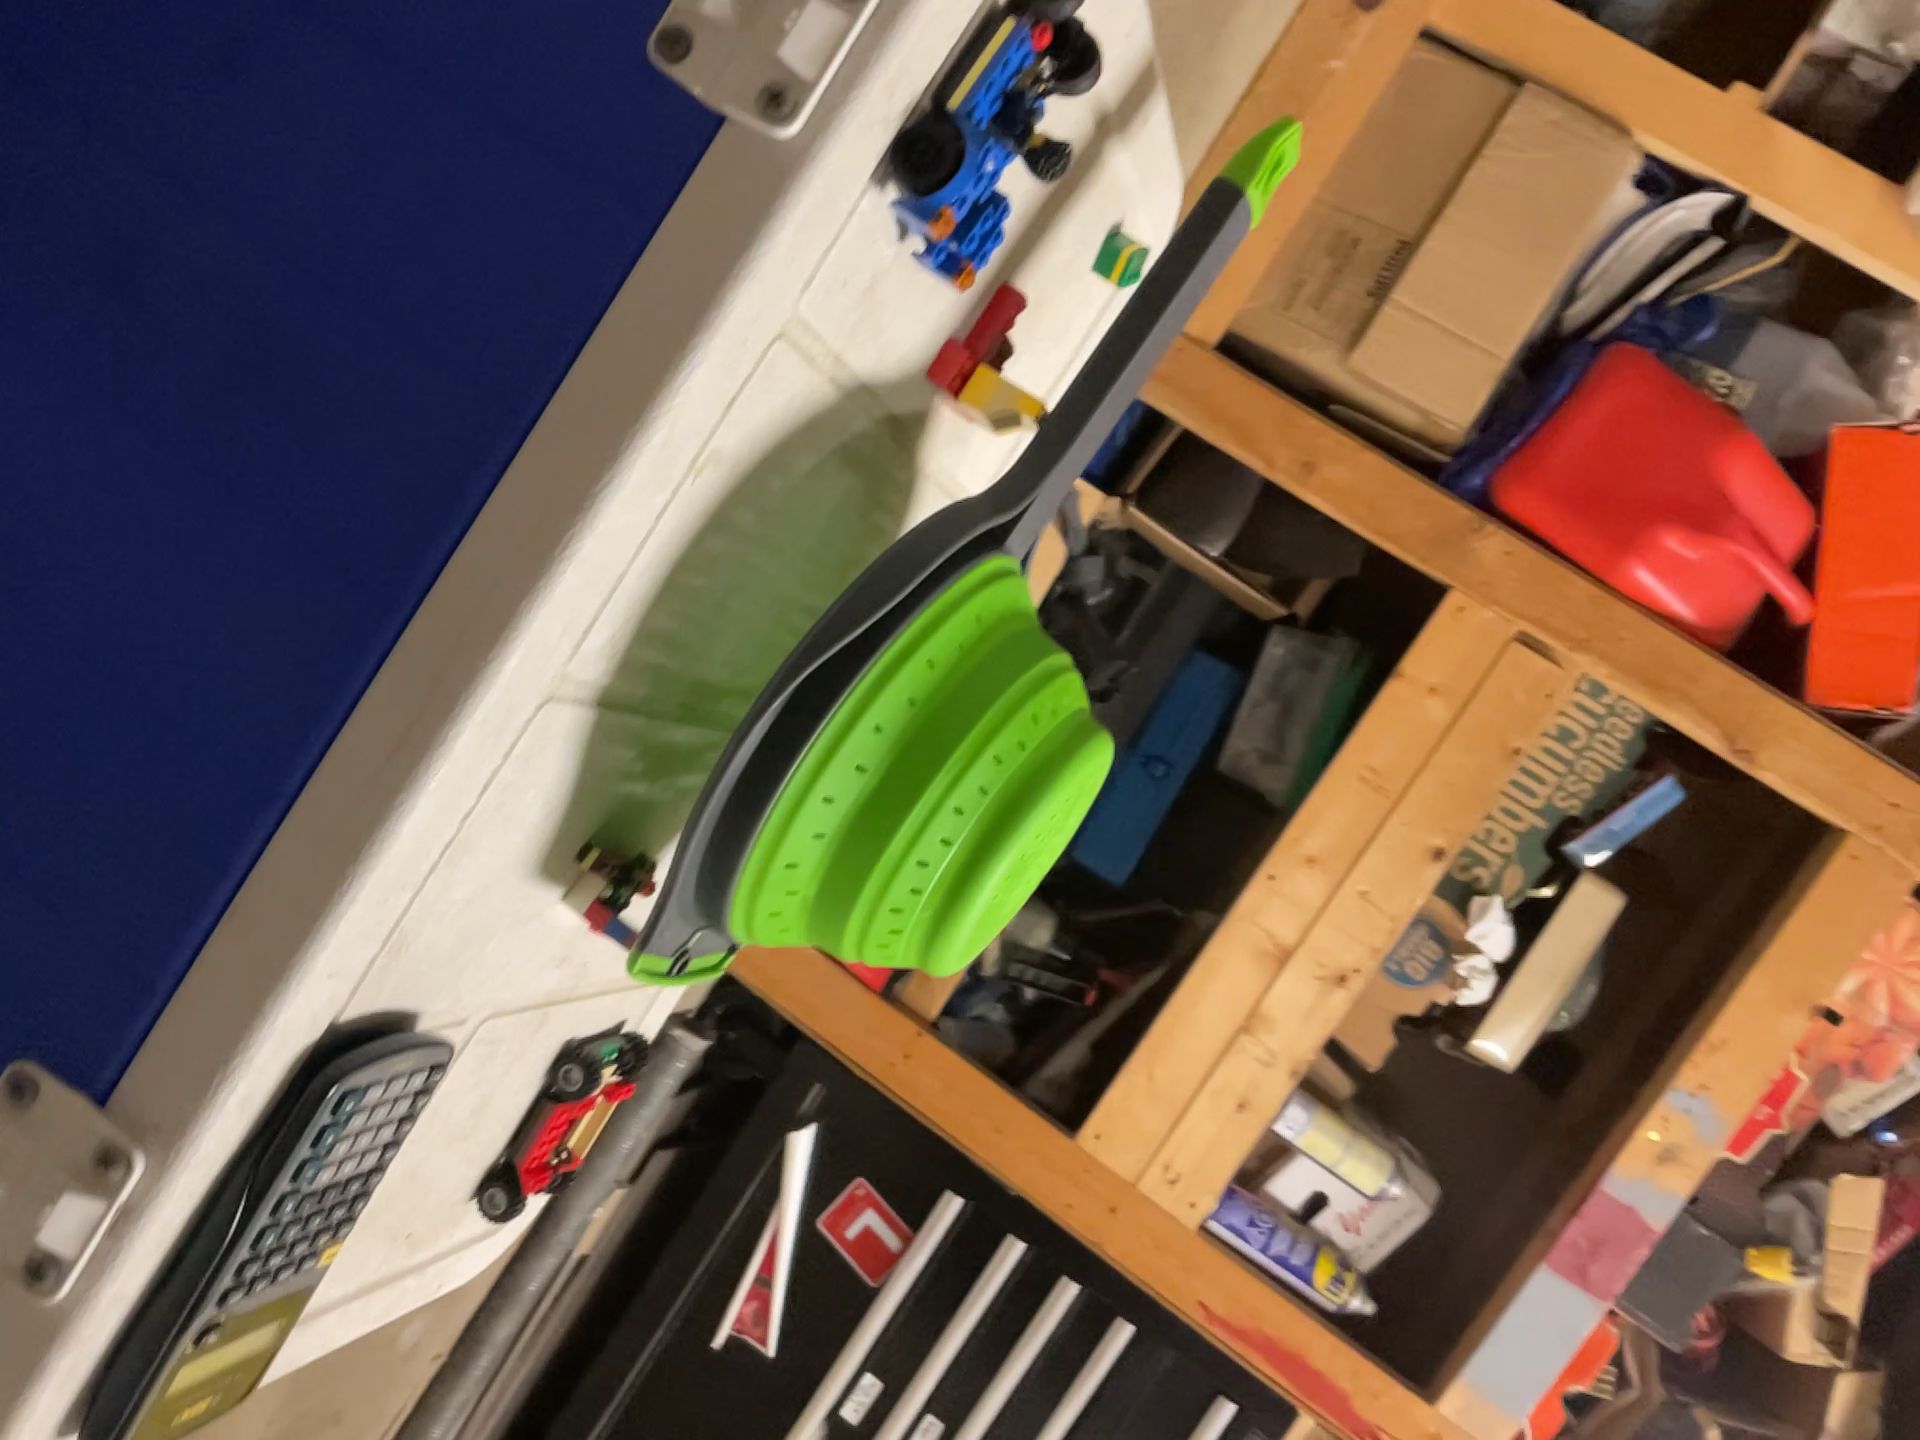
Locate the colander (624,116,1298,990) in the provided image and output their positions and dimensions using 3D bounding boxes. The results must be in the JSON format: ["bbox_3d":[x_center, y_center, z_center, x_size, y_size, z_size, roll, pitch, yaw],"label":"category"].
[{"bbox_3d":[0.037,-0.041,0.589,0.397,0.094,0.204,-55,168,-2],"label":"colander"}]
